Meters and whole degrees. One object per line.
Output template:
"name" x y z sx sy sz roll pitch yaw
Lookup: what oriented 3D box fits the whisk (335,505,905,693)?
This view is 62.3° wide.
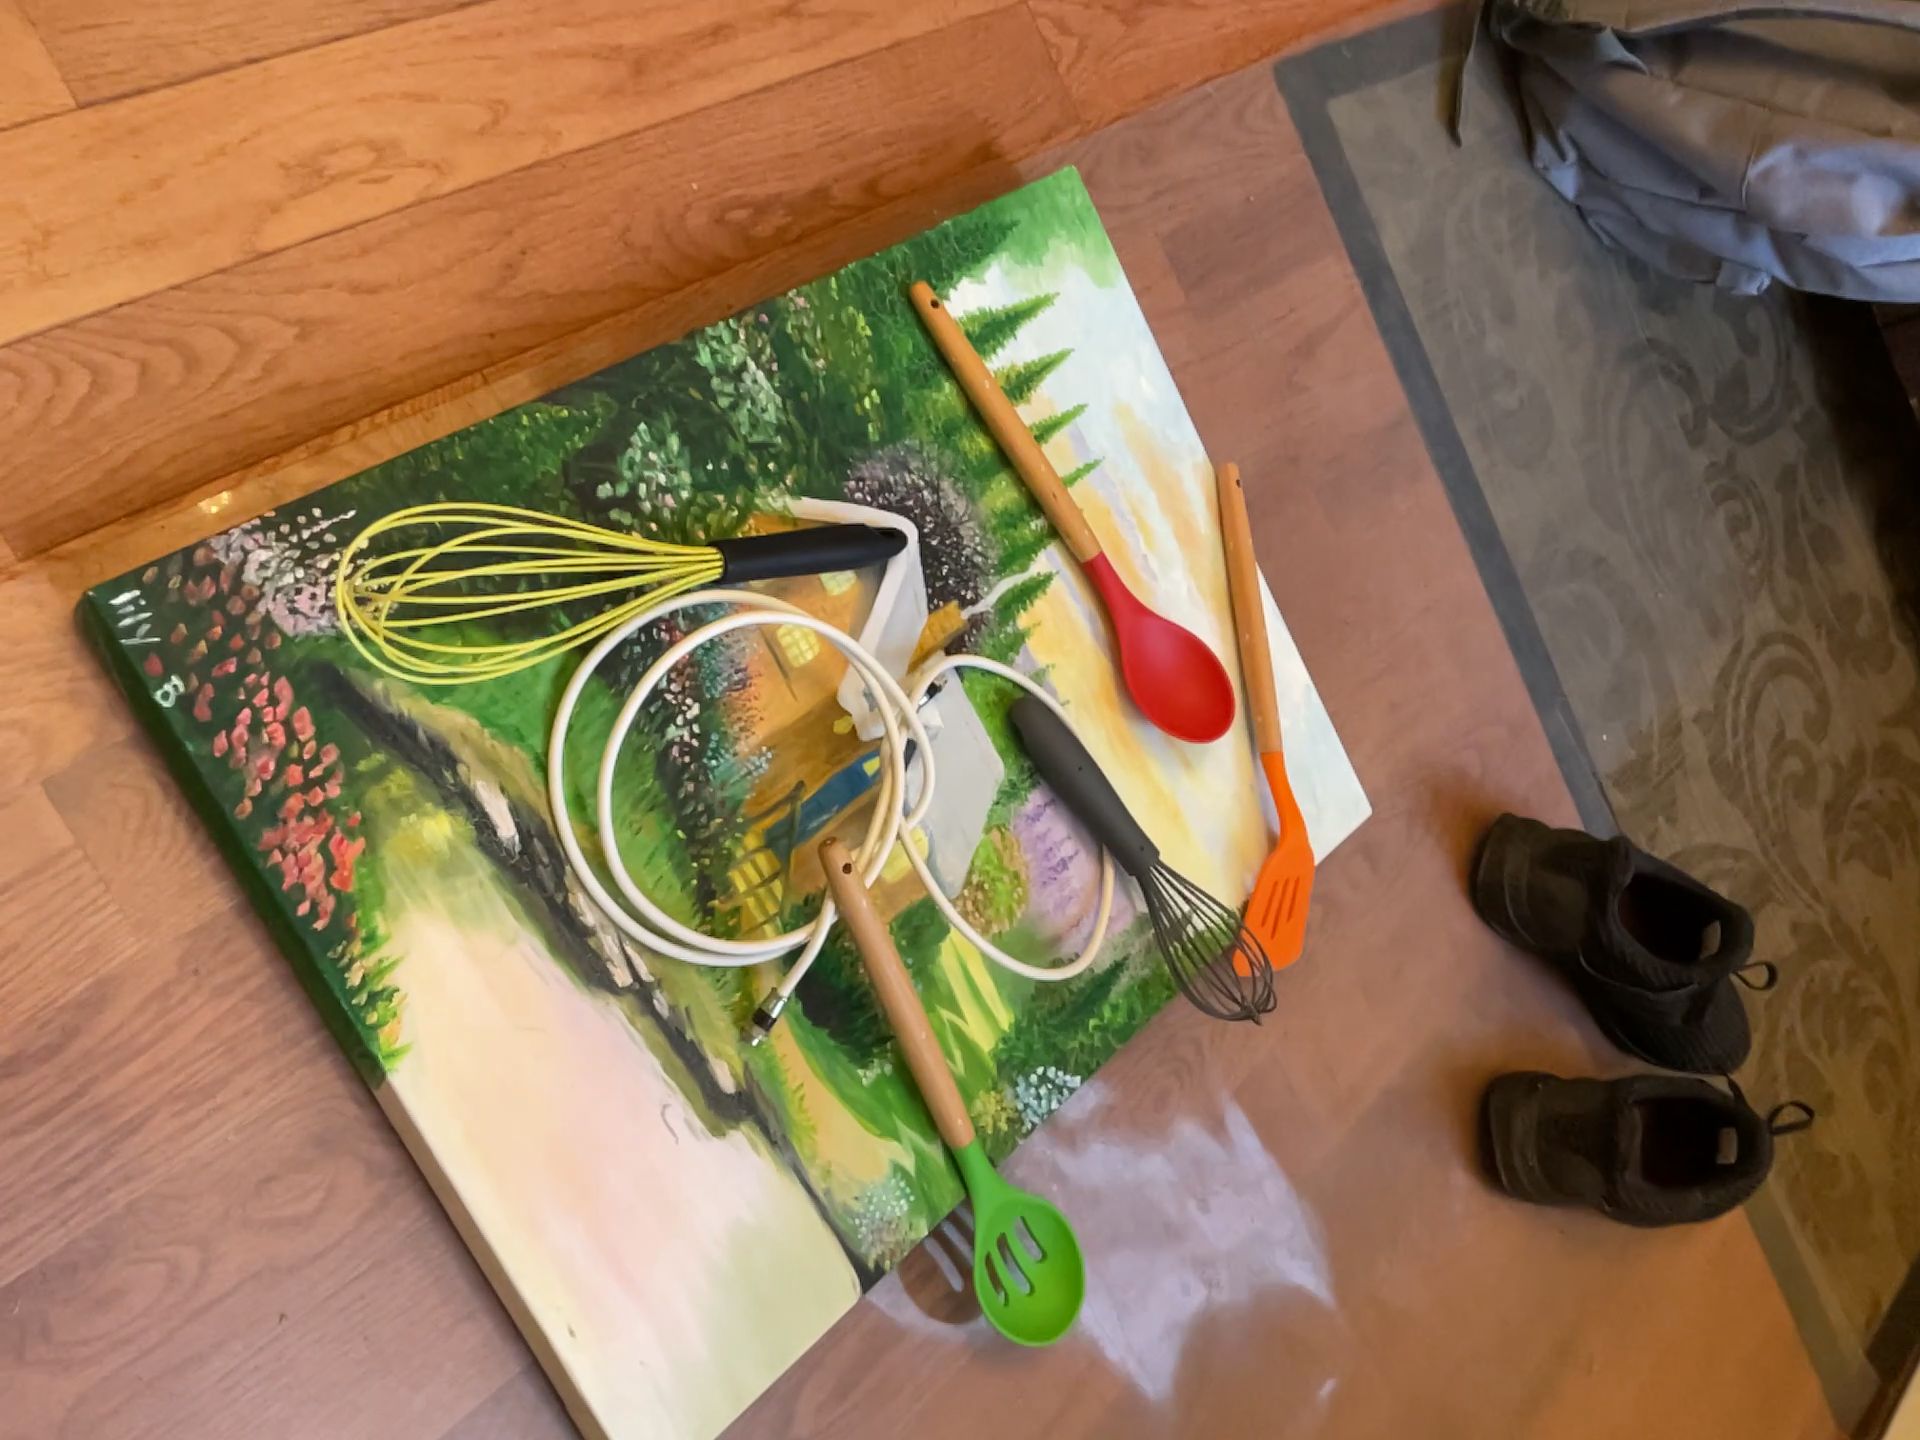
"whisk" -0.145 -0.070 0.756 0.311 0.067 0.080 -14 96 -42

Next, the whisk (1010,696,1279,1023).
"whisk" 0.105 0.081 0.909 0.239 0.055 0.055 52 47 -10

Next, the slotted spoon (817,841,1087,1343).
"slotted spoon" -0.007 0.194 0.815 0.070 0.031 0.313 -38 116 -33

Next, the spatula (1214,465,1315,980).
"spatula" 0.184 0.000 1.002 0.081 0.041 0.323 -2 82 -47

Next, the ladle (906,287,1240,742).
"ladle" 0.064 -0.116 0.924 0.069 0.031 0.315 -45 105 -33
